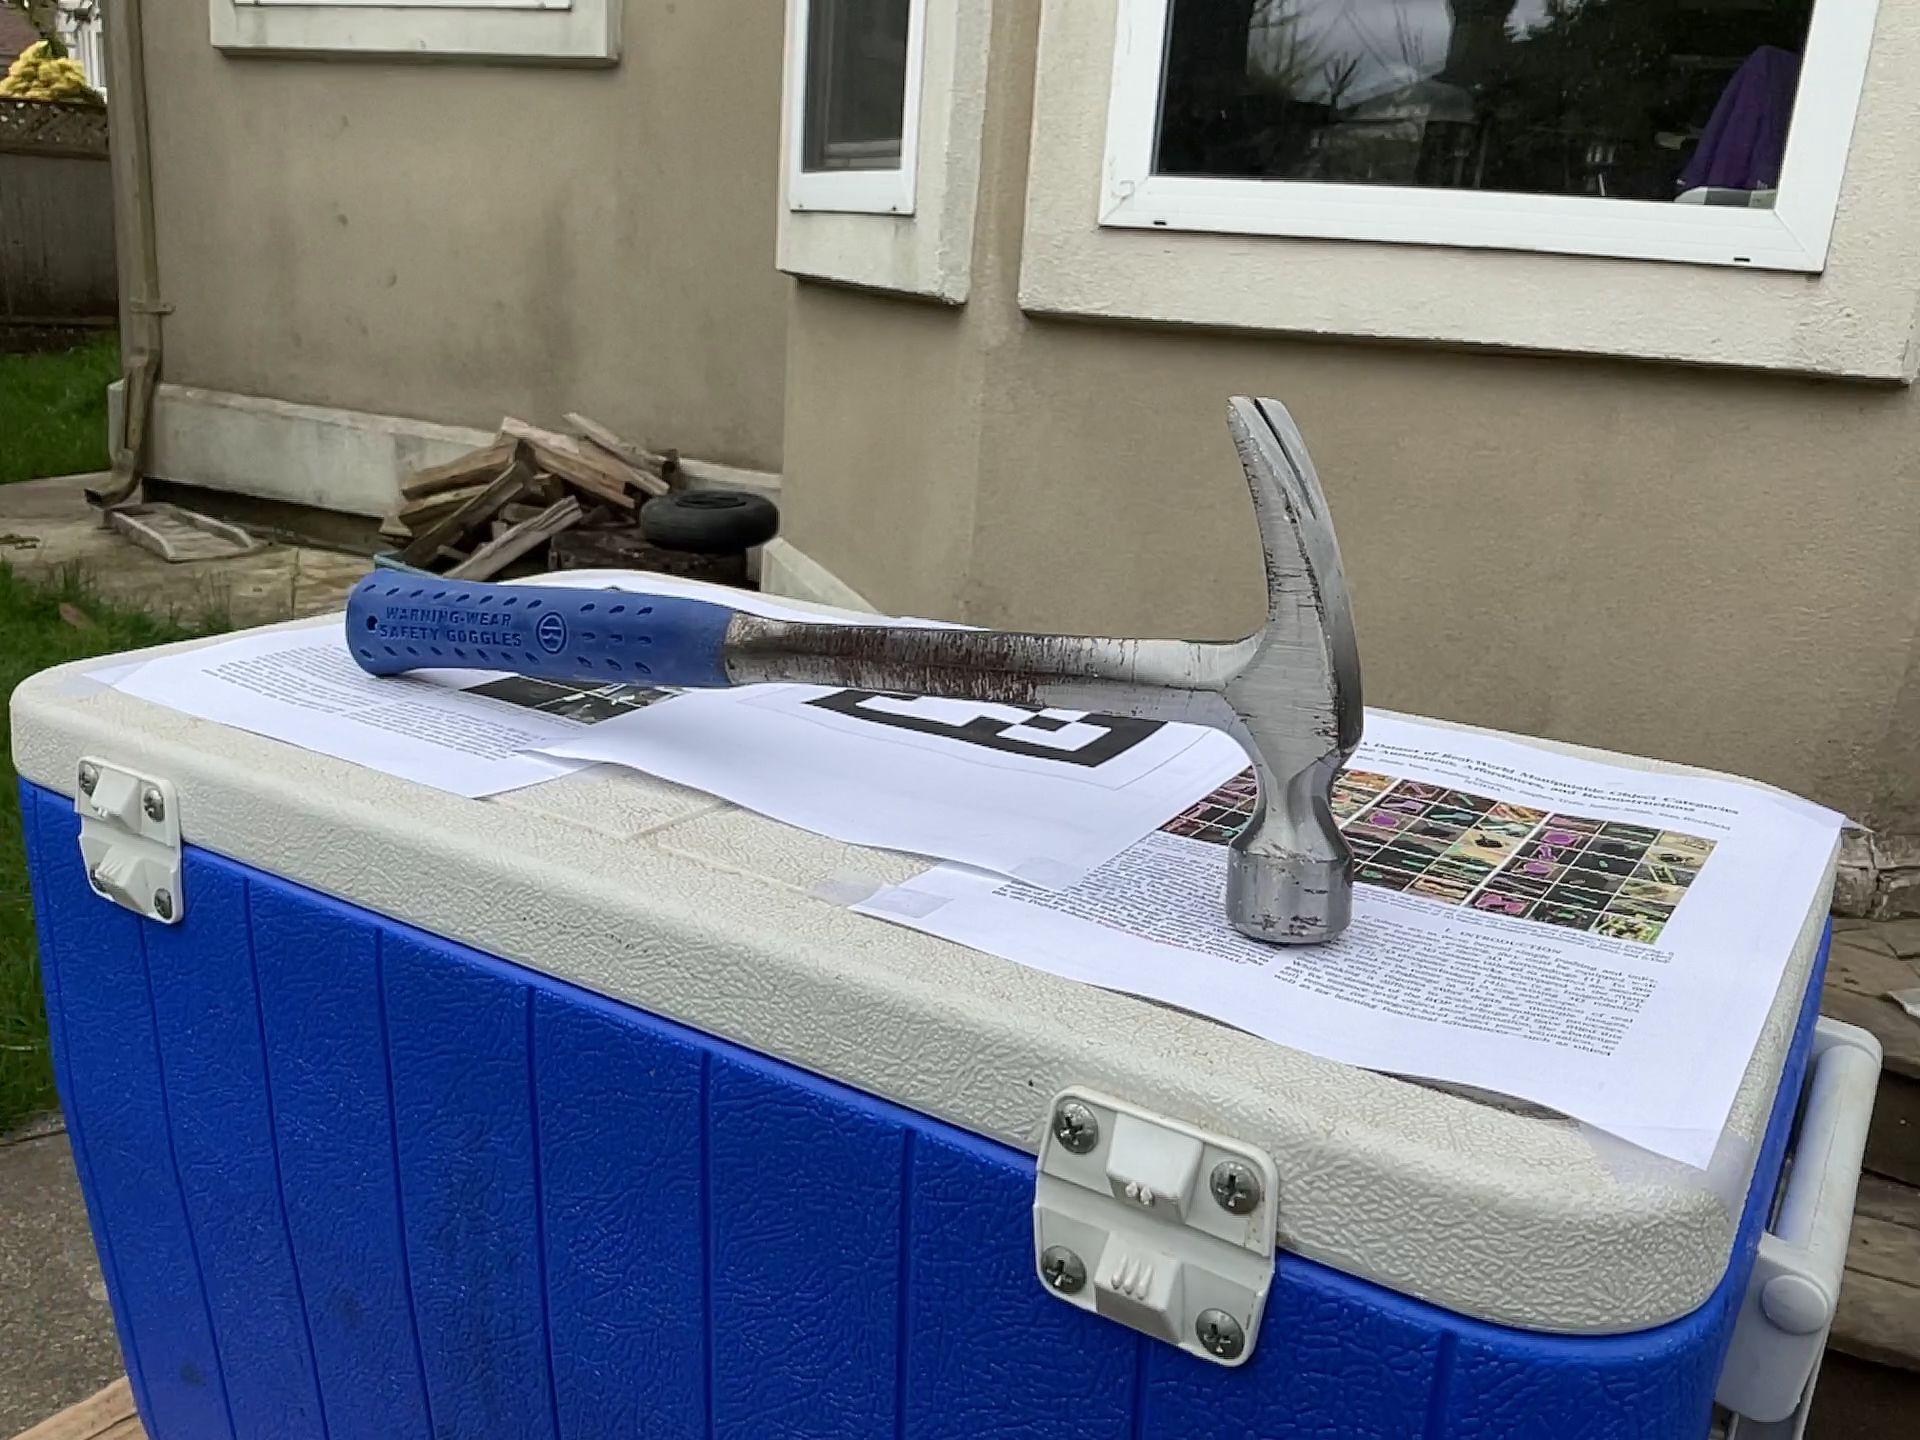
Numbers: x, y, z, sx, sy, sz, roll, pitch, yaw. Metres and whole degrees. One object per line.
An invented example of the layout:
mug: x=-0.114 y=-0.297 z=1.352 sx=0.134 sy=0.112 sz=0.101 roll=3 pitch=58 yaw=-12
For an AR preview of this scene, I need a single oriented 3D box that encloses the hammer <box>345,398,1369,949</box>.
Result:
hammer: x=-0.064 y=-0.027 z=0.526 sx=0.406 sy=0.144 sz=0.035 roll=5 pitch=9 yaw=33
